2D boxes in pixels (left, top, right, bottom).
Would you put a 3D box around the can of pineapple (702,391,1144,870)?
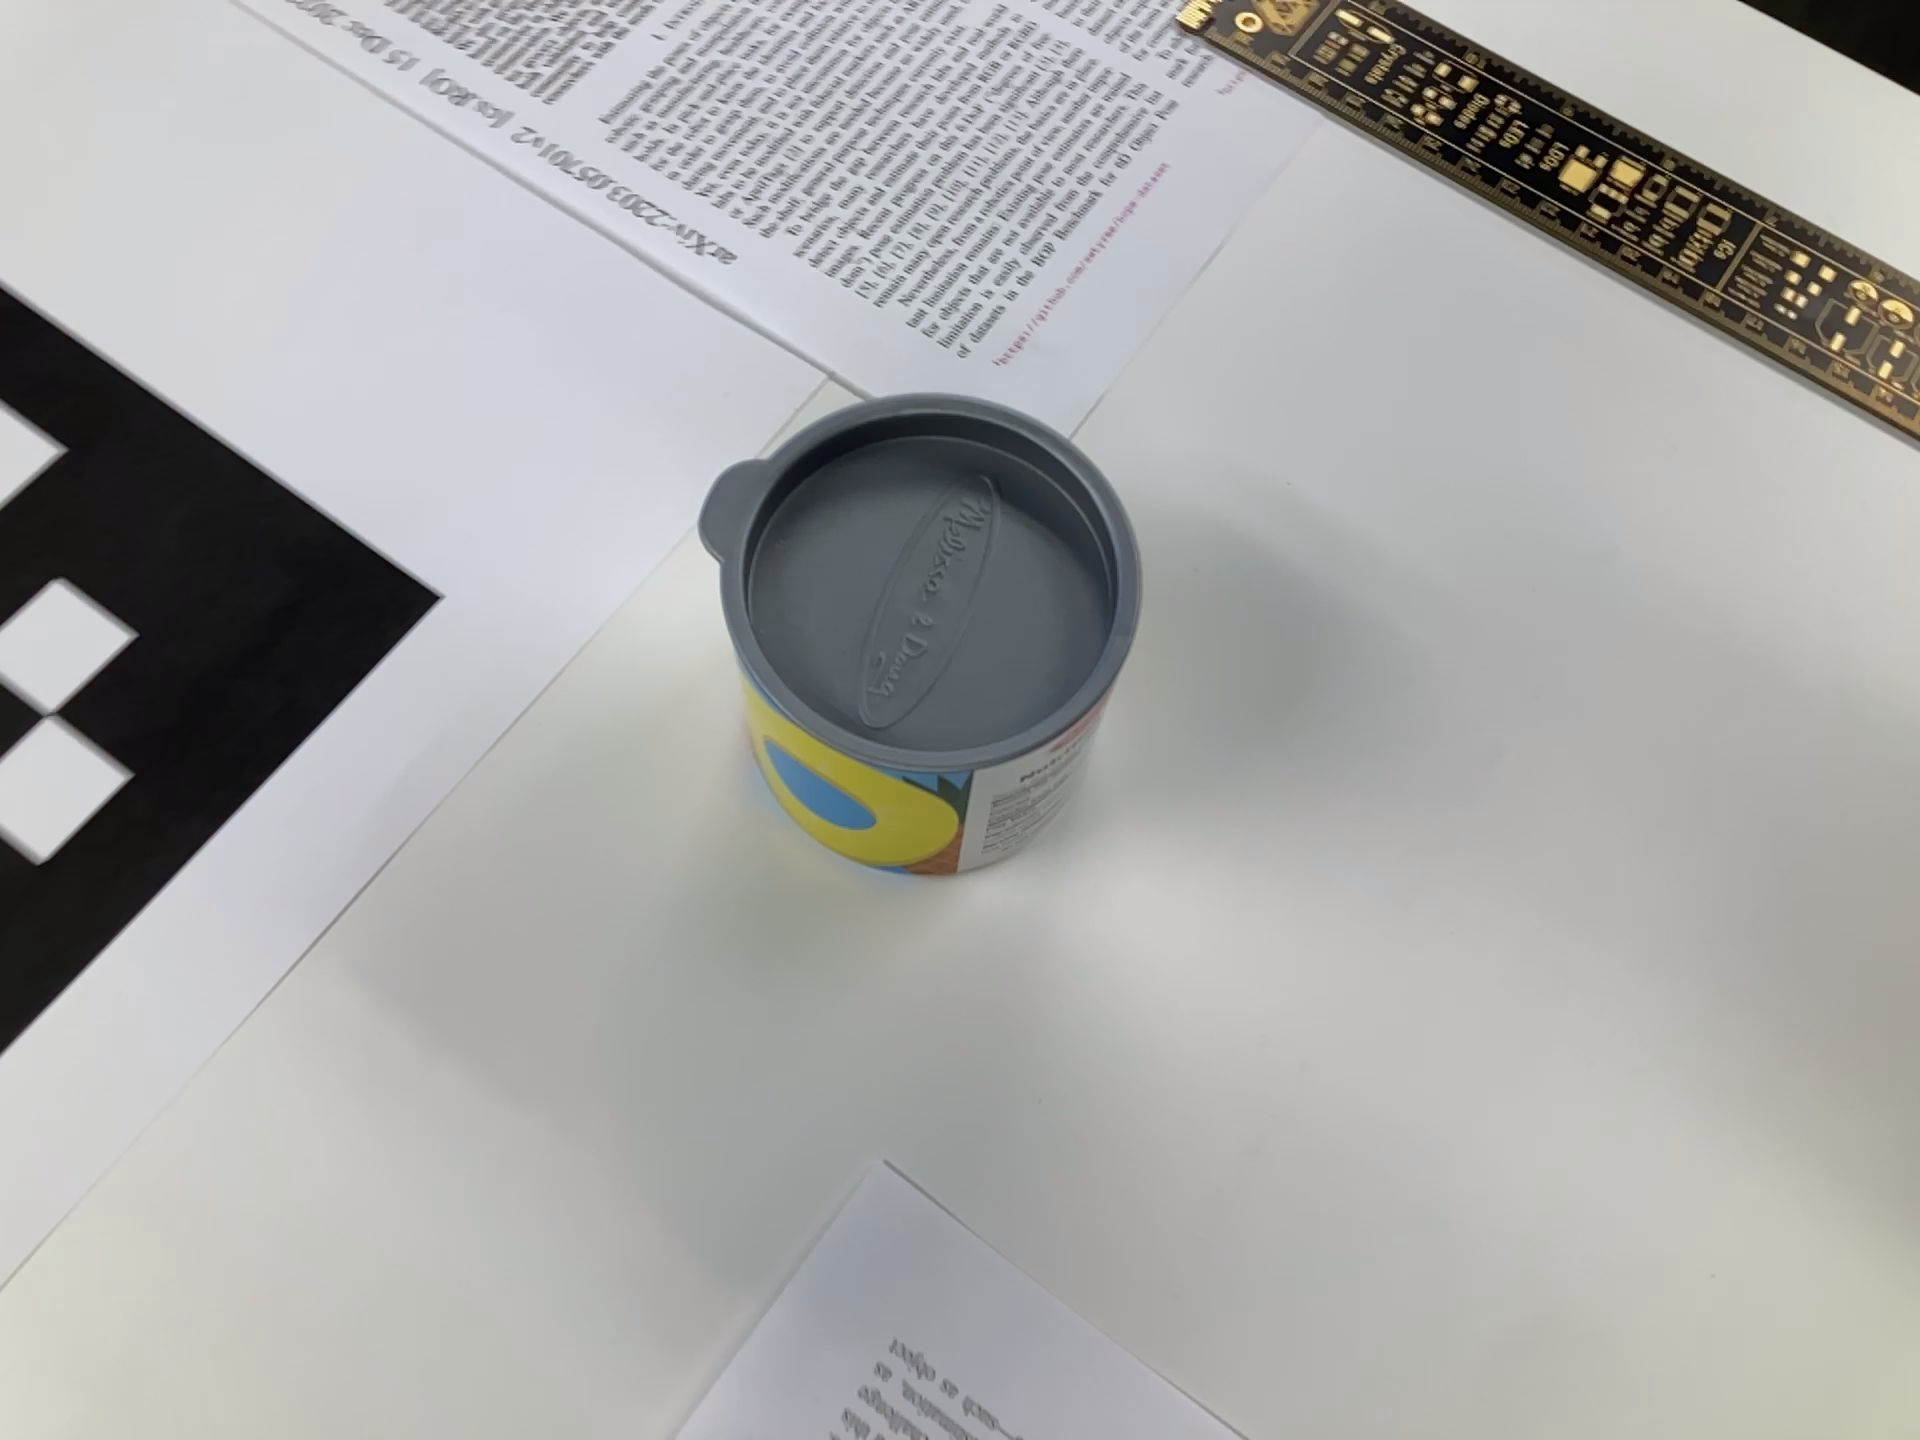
[{"bbox_3d":[-0.007,-0.014,0.275,0.071,0.058,0.071,1,67,-3],"label":"can of pineapple"}]
